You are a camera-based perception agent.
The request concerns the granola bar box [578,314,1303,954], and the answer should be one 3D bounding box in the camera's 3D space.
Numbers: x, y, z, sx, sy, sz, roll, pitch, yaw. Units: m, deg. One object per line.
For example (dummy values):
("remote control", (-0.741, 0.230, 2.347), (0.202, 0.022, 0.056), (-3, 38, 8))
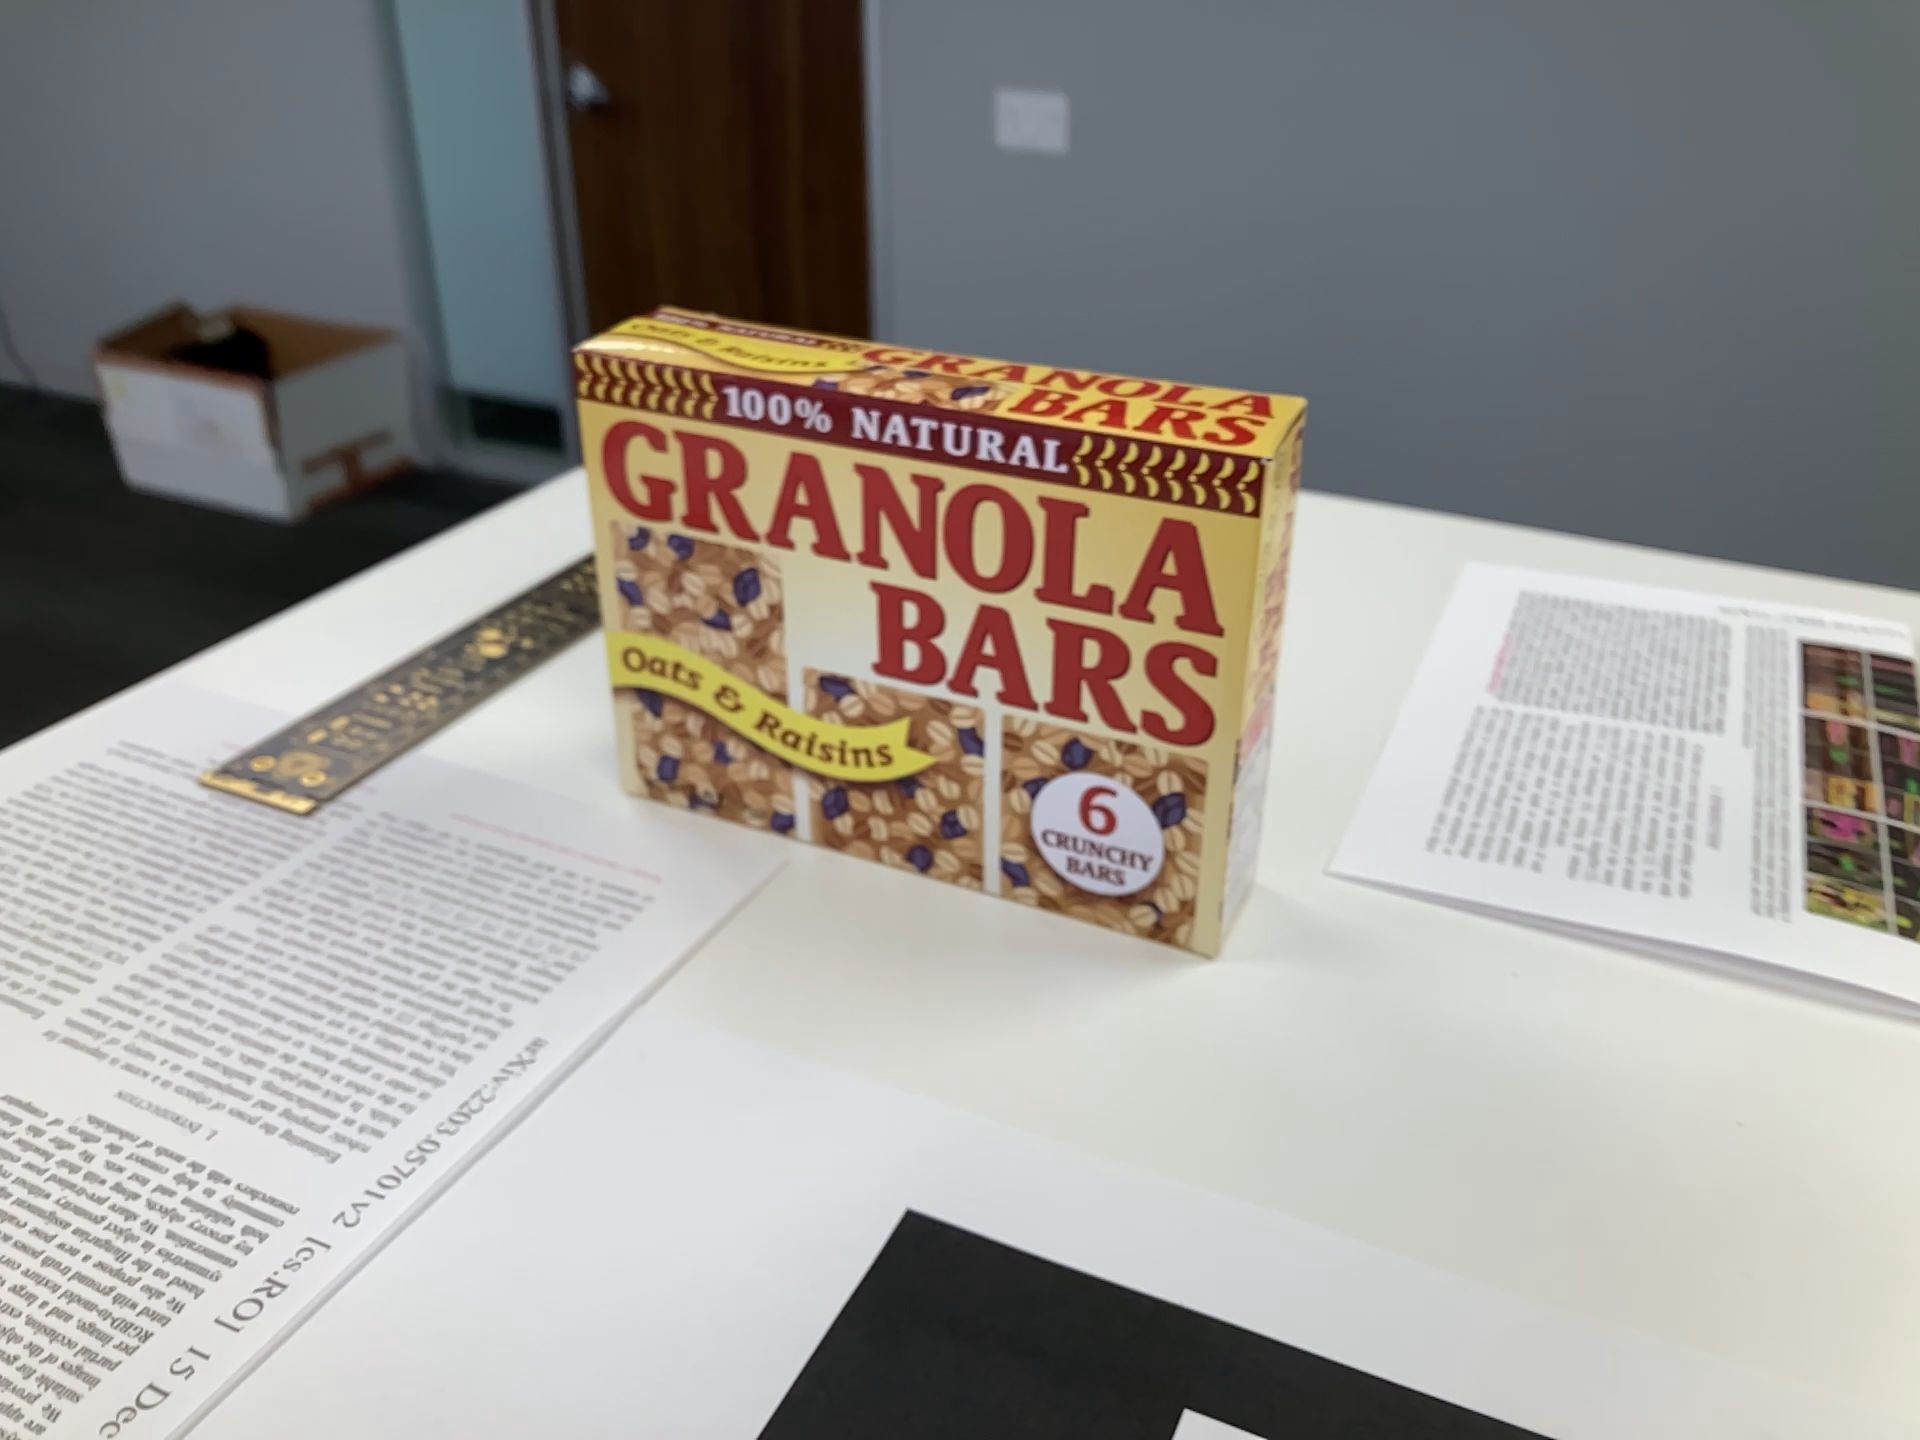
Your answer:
("granola bar box", (-0.007, -0.024, 0.386), (0.165, 0.124, 0.039), (13, 32, 22))
